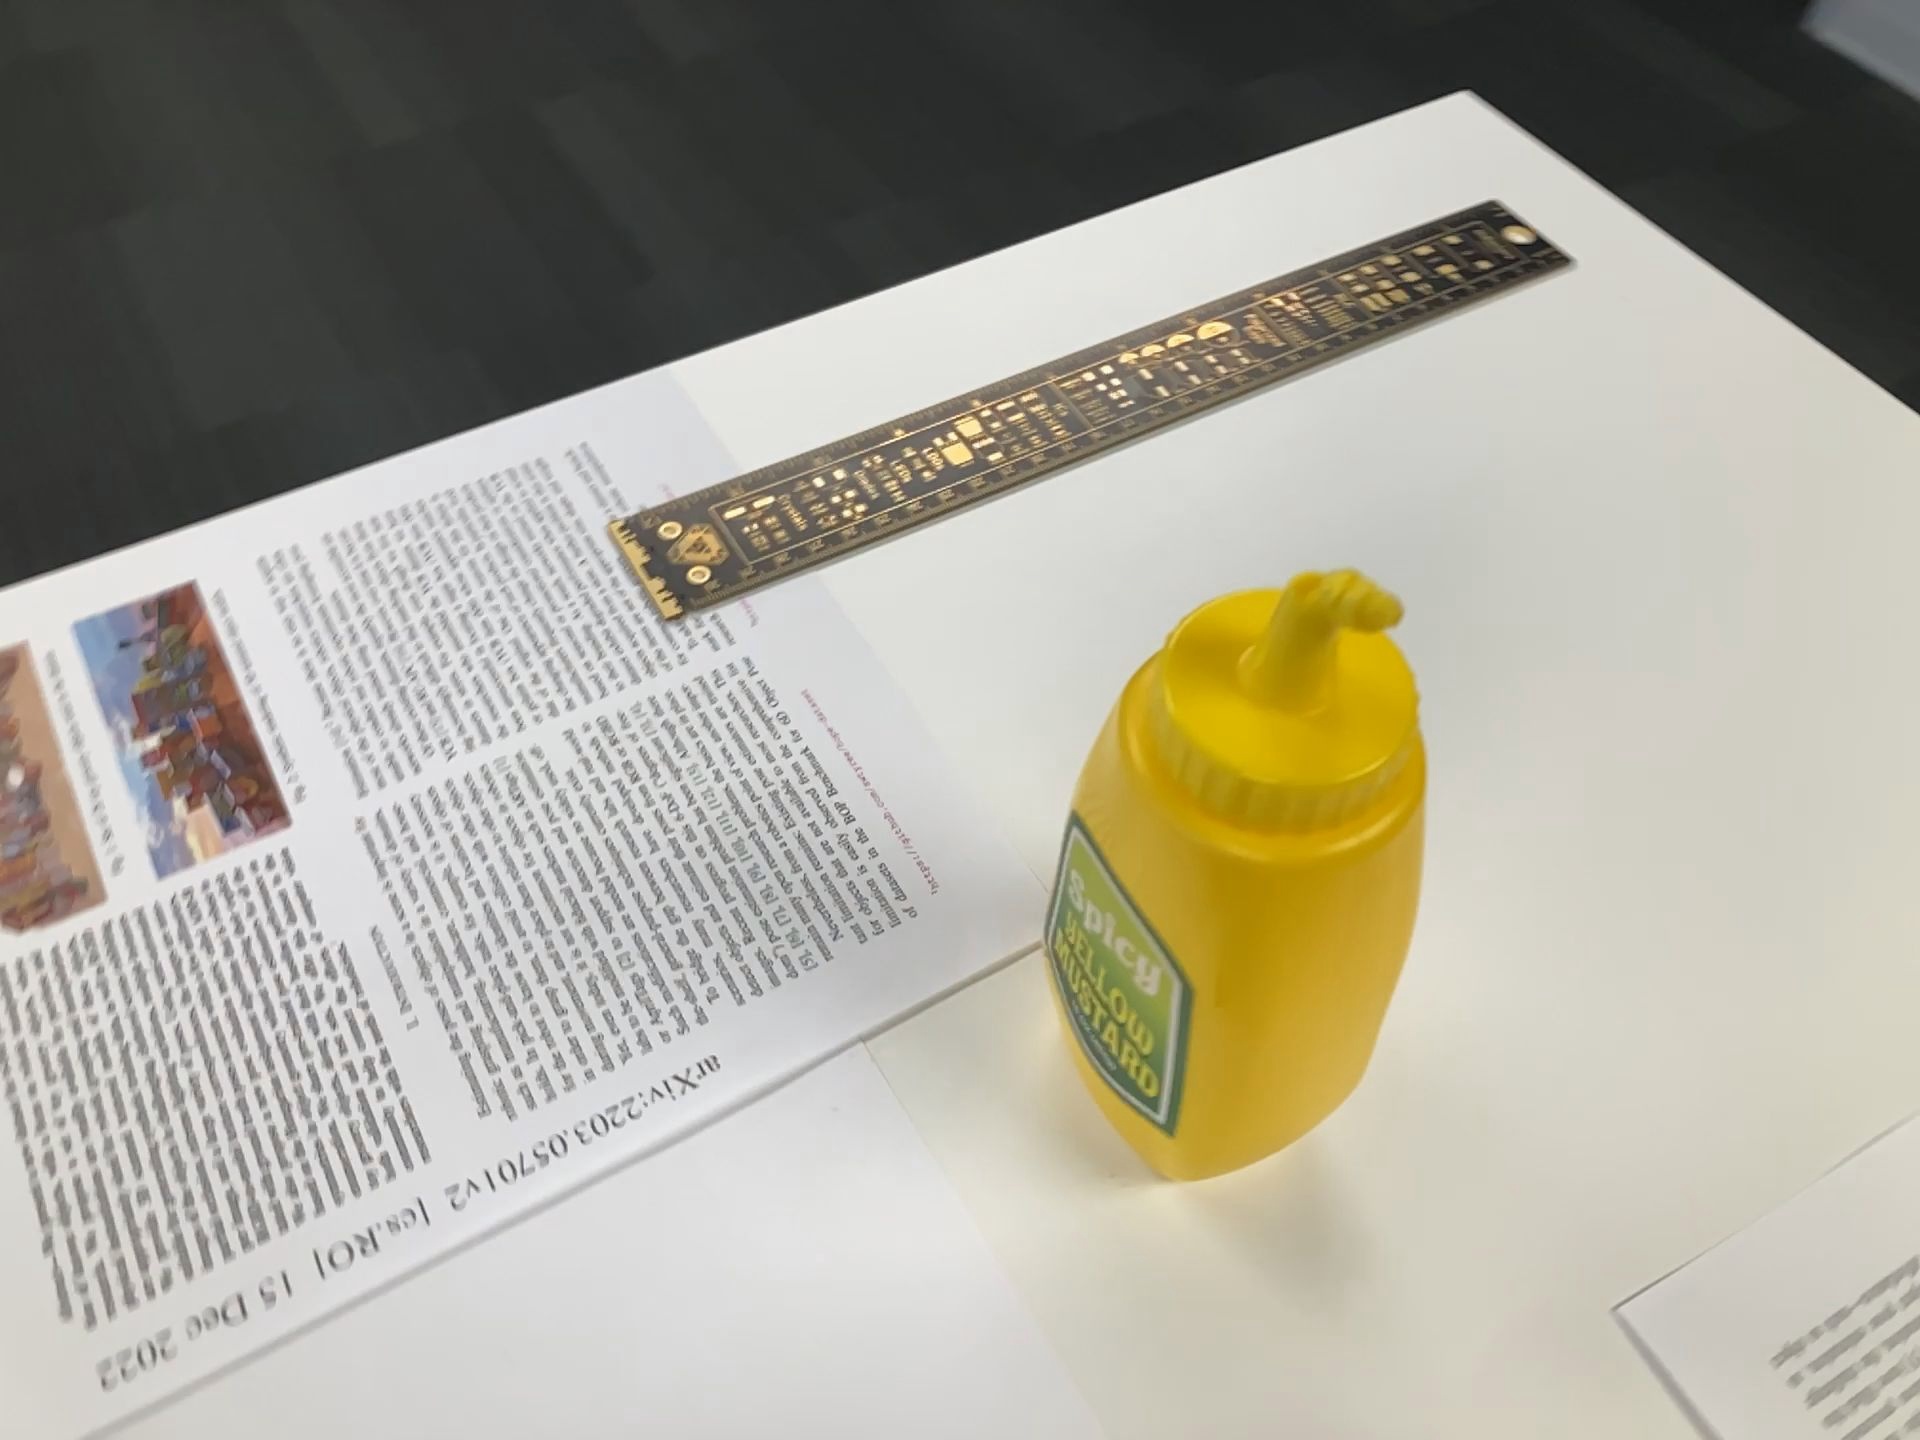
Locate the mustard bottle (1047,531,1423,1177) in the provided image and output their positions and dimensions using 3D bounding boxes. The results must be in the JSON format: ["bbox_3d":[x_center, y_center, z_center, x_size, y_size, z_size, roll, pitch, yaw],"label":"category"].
[{"bbox_3d":[0.047,0.023,0.275,0.049,0.160,0.065,-22,55,-16],"label":"mustard bottle"}]
